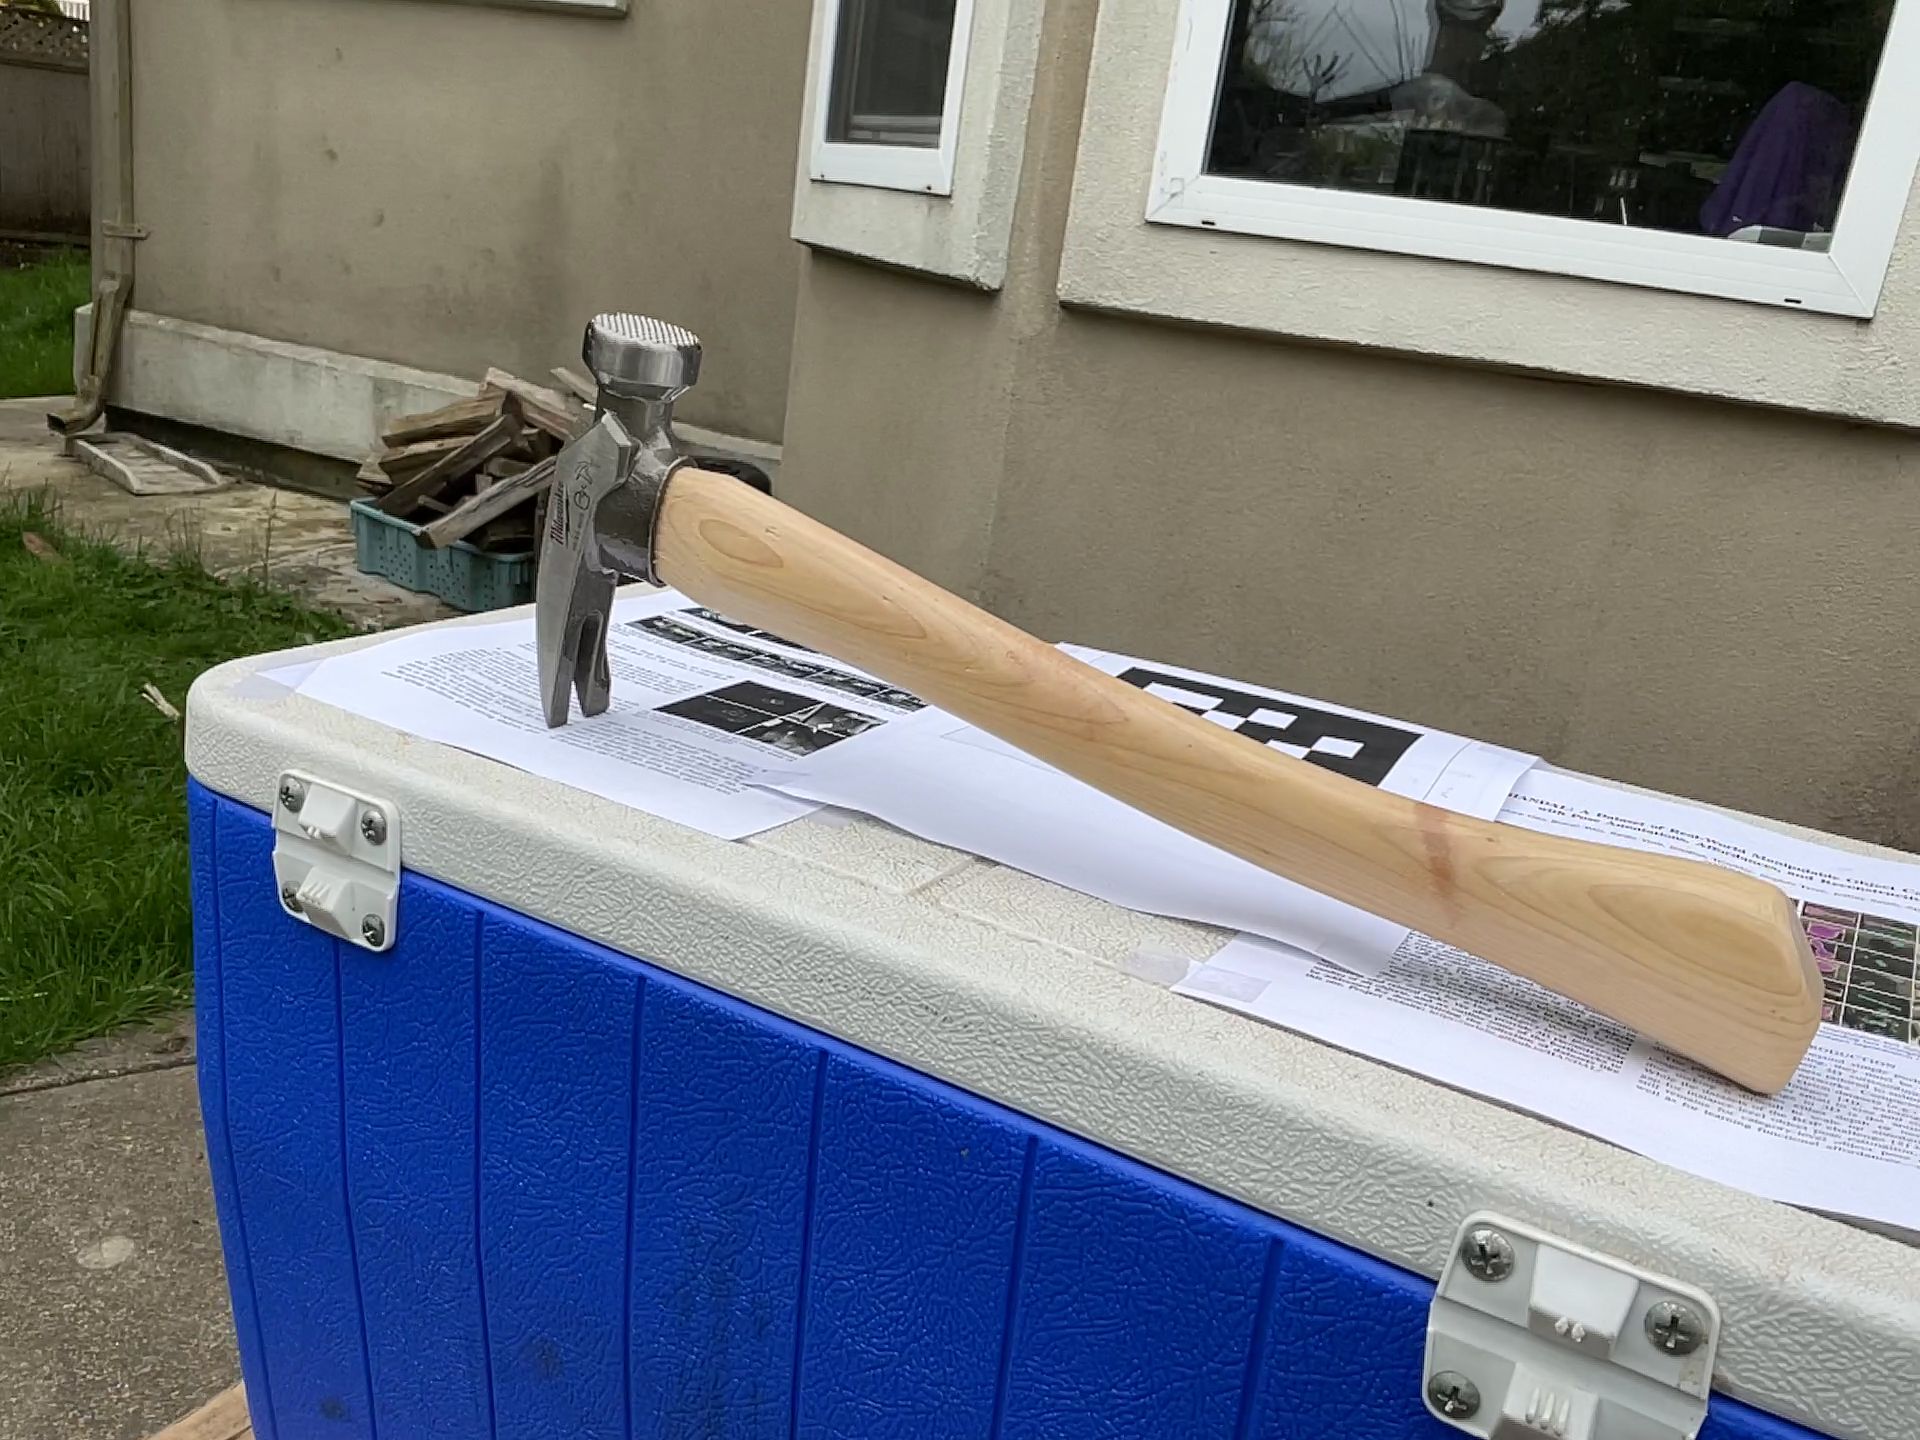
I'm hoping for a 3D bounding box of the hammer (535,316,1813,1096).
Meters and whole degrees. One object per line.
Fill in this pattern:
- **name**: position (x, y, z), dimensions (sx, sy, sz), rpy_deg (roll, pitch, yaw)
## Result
- **hammer**: position (0.034, 0.009, 0.482), dimensions (0.411, 0.146, 0.038), rpy_deg (25, 24, 23)
